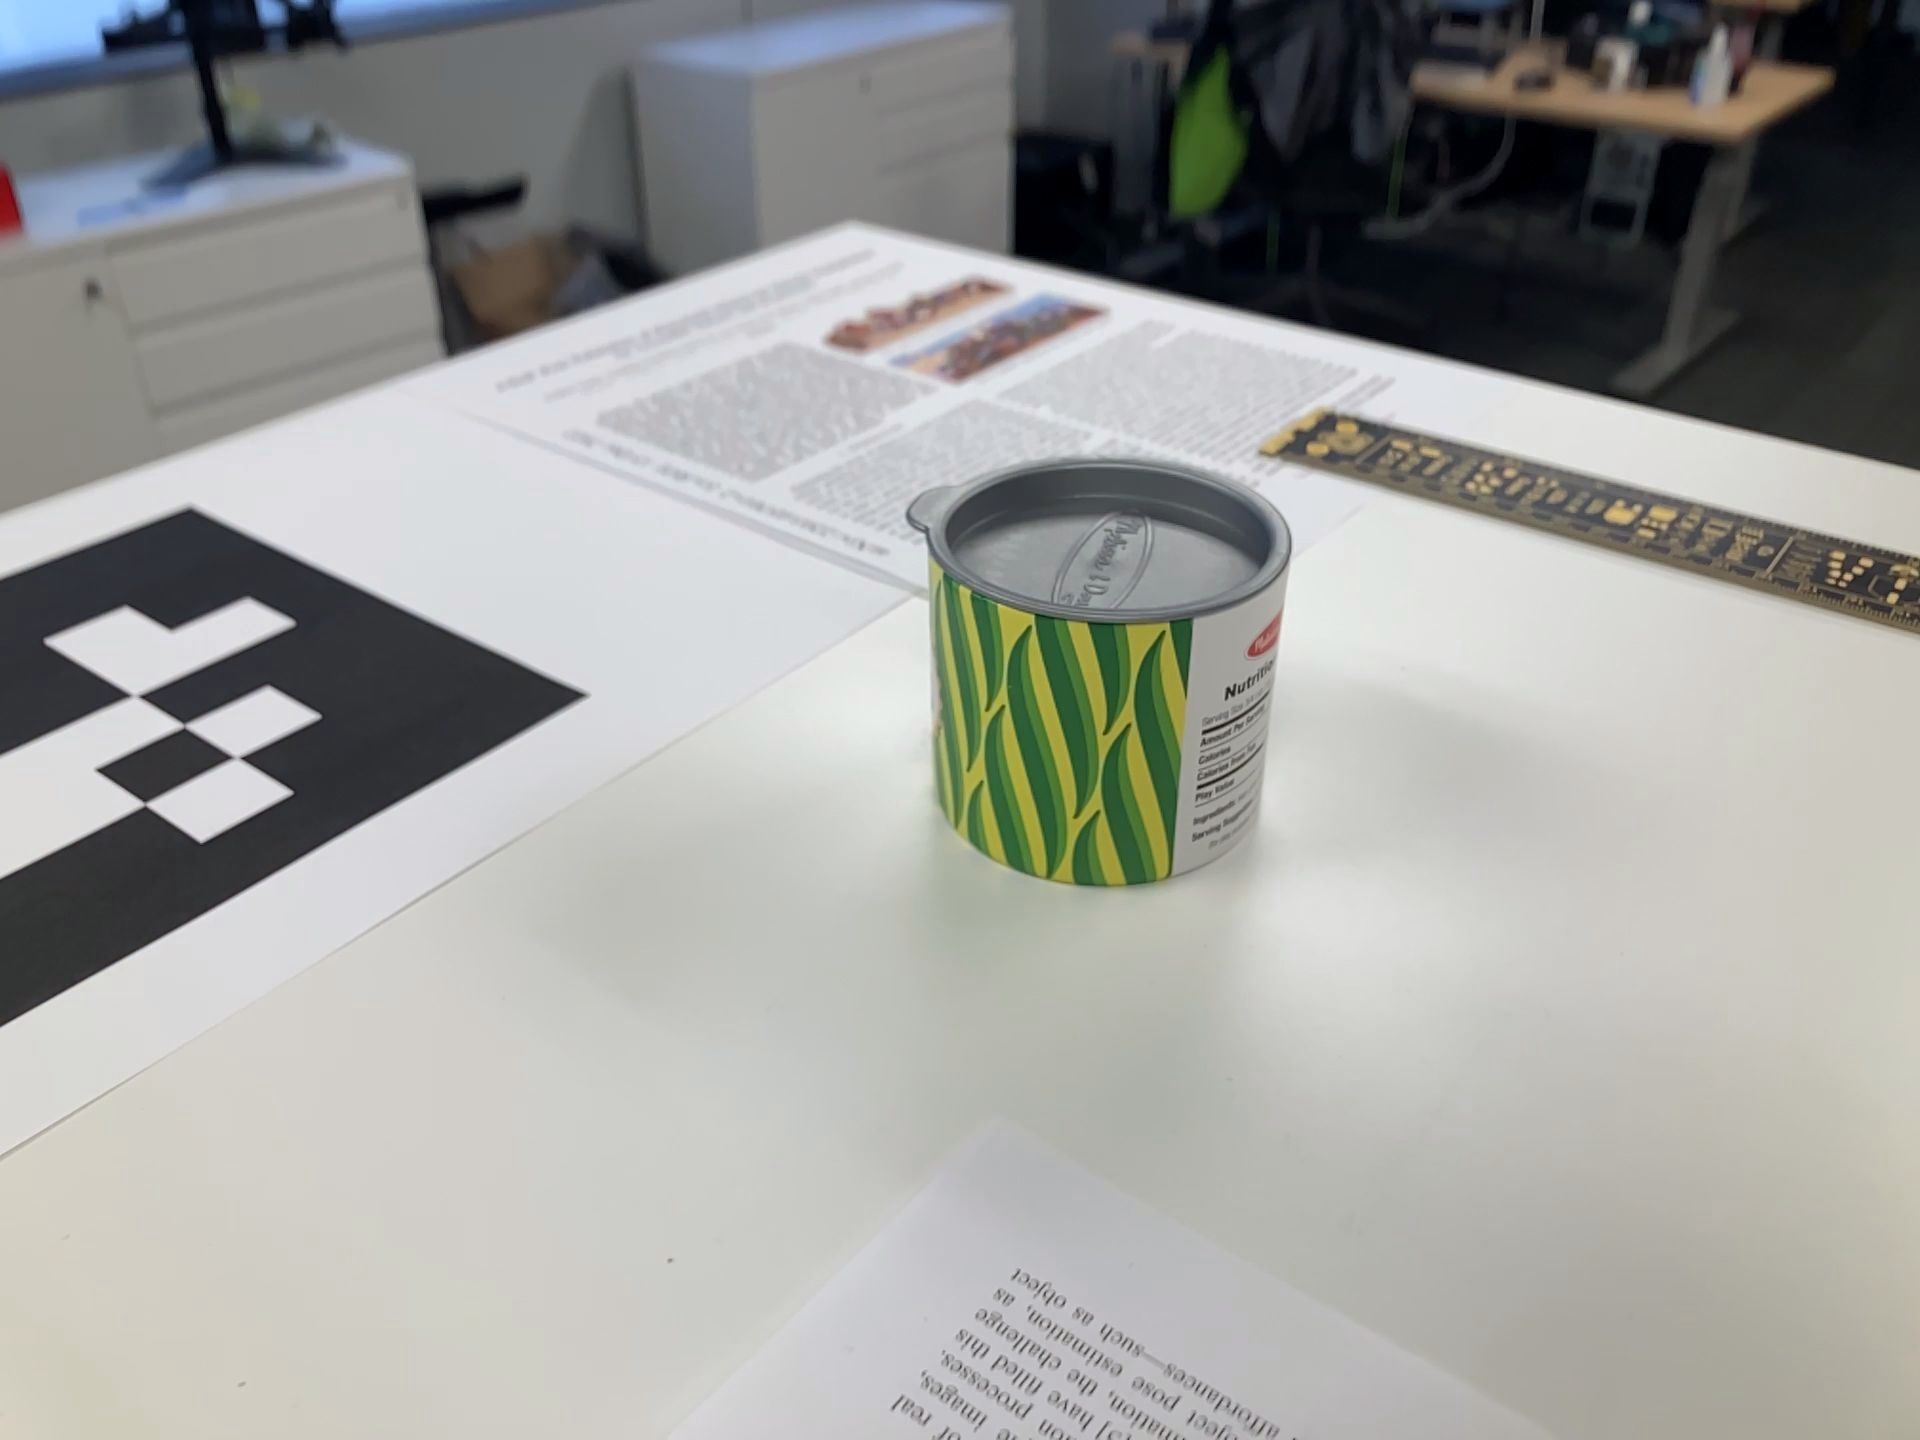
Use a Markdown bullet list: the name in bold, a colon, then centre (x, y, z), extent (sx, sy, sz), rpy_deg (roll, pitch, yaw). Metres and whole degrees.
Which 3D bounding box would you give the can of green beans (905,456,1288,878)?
- **can of green beans**: centre (0.027, -0.011, 0.309), extent (0.071, 0.058, 0.071), rpy_deg (0, 32, 0)
